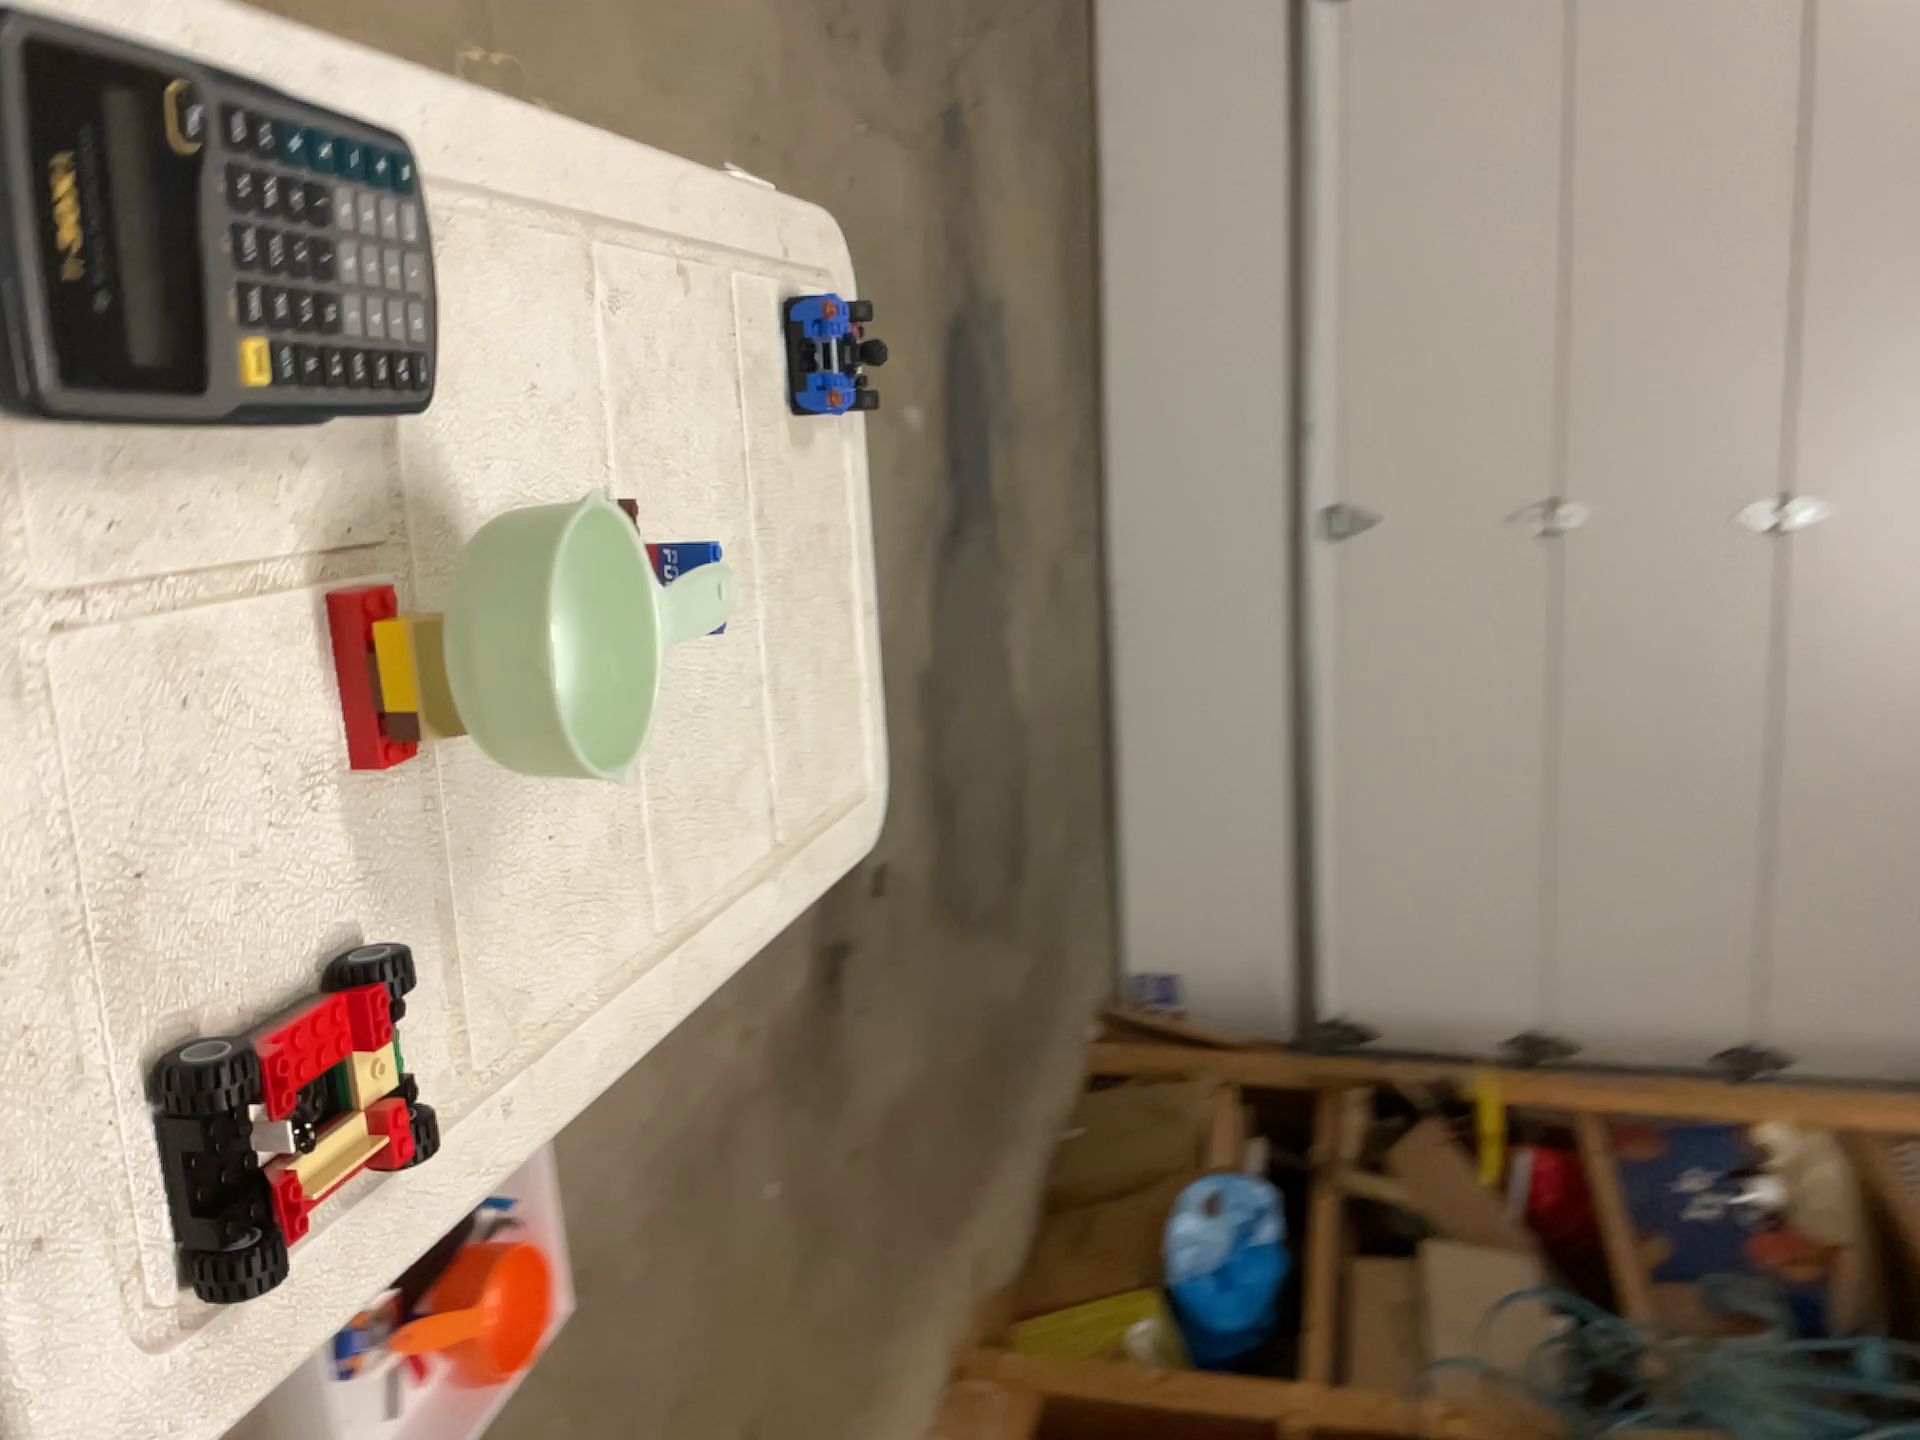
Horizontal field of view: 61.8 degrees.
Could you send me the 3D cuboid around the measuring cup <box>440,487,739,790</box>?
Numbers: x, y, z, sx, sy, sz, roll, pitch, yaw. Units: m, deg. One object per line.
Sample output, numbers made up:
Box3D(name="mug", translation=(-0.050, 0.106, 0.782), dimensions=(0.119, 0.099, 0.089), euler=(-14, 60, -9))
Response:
Box3D(name="measuring cup", translation=(-0.105, -0.031, 0.481), dimensions=(0.168, 0.038, 0.083), euler=(-57, 143, -75))
